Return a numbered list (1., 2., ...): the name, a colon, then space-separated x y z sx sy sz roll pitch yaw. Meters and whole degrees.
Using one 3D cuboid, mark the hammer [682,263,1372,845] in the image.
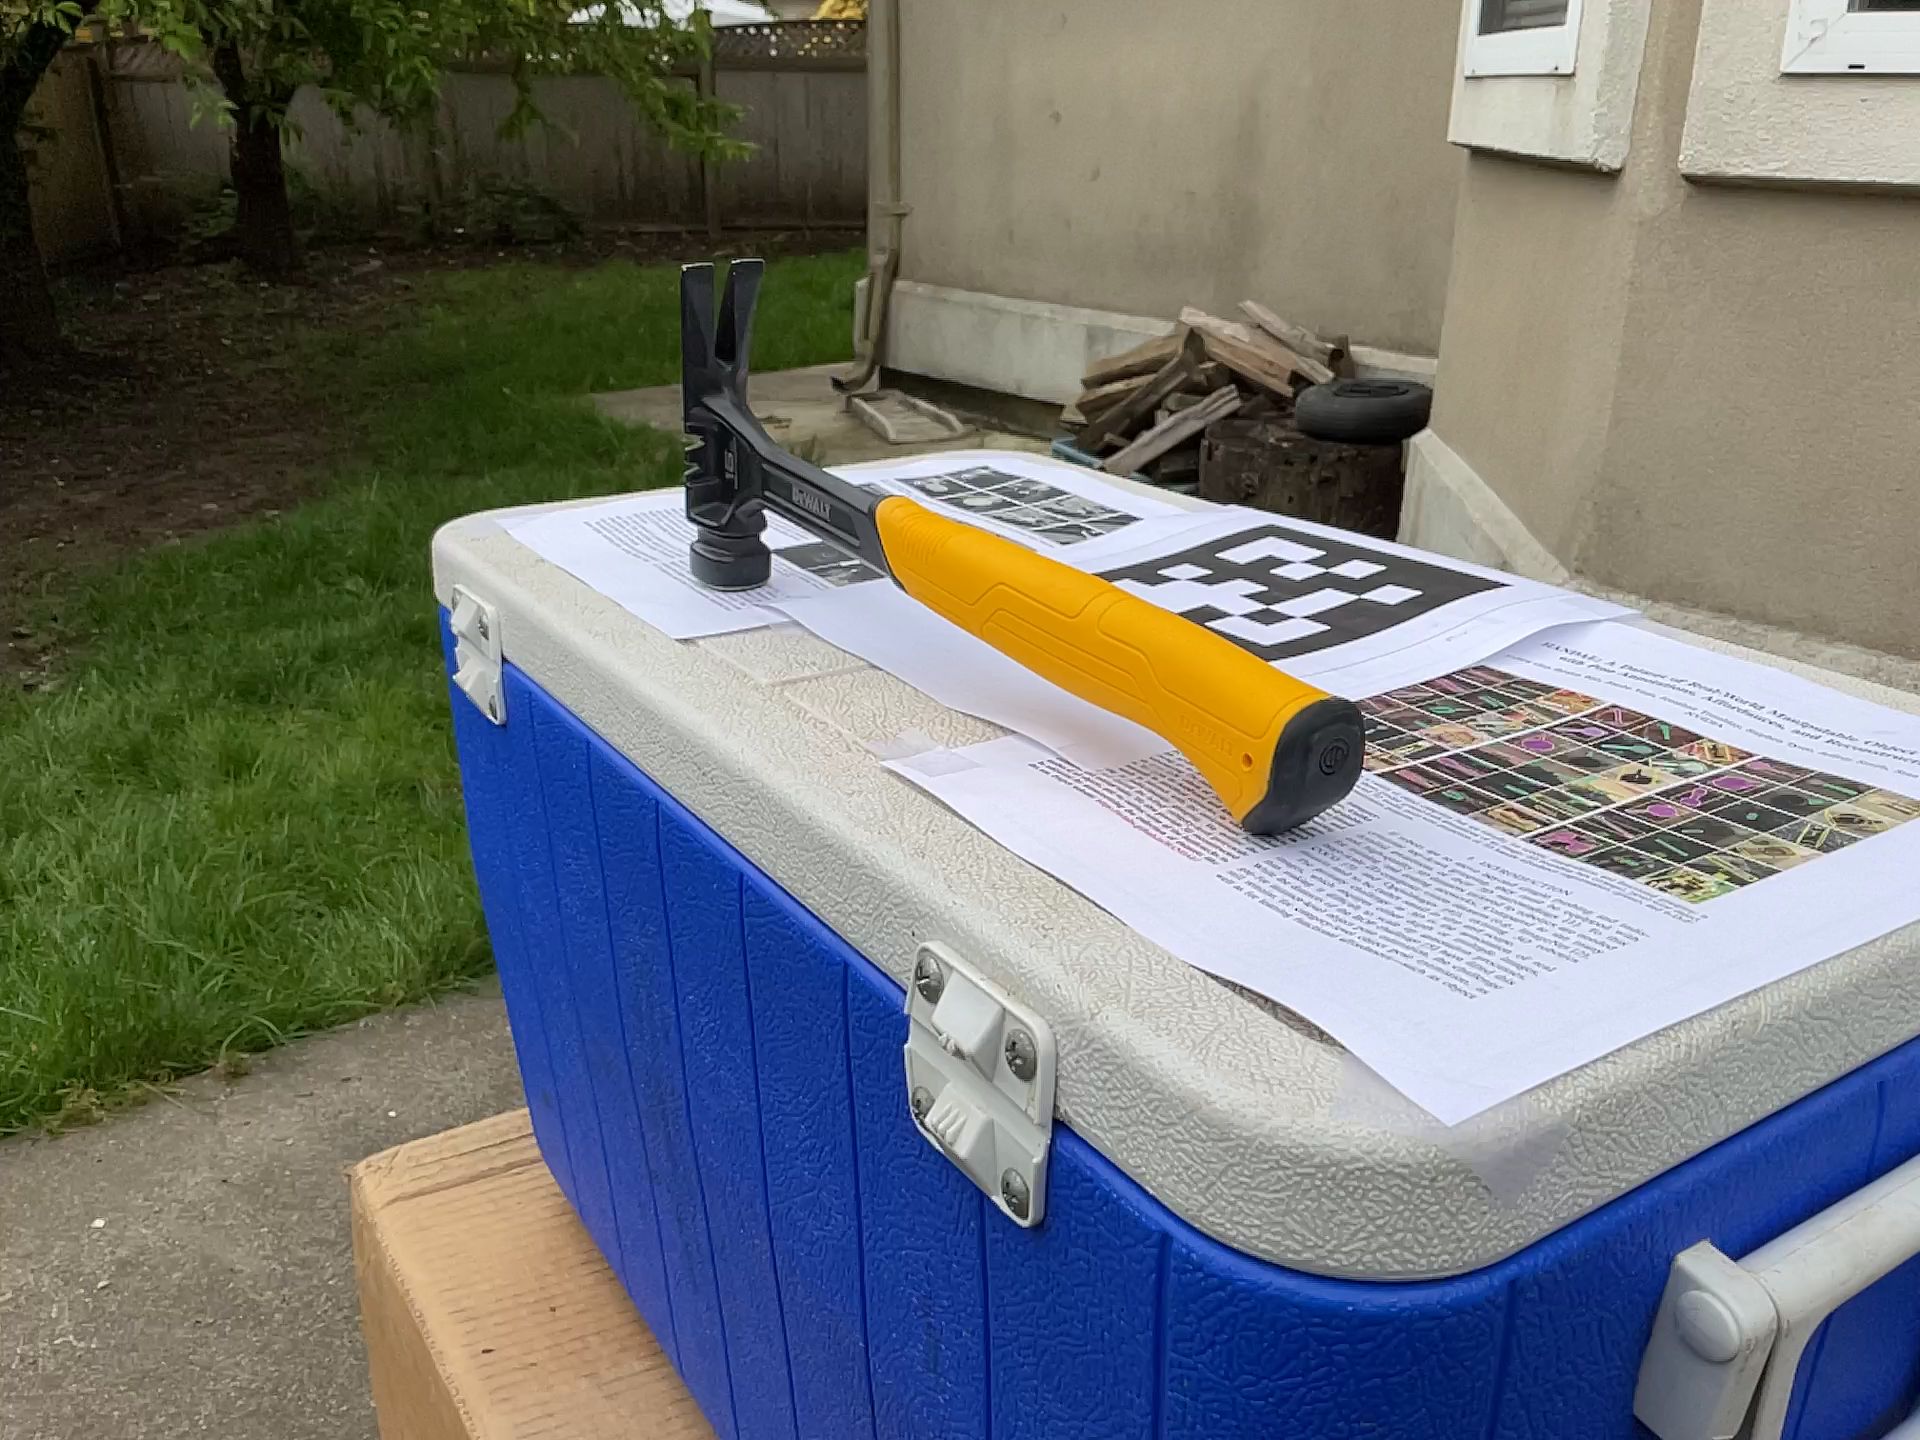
1. hammer: -0.003 -0.055 0.514 0.034 0.127 0.337 -14 30 -33
